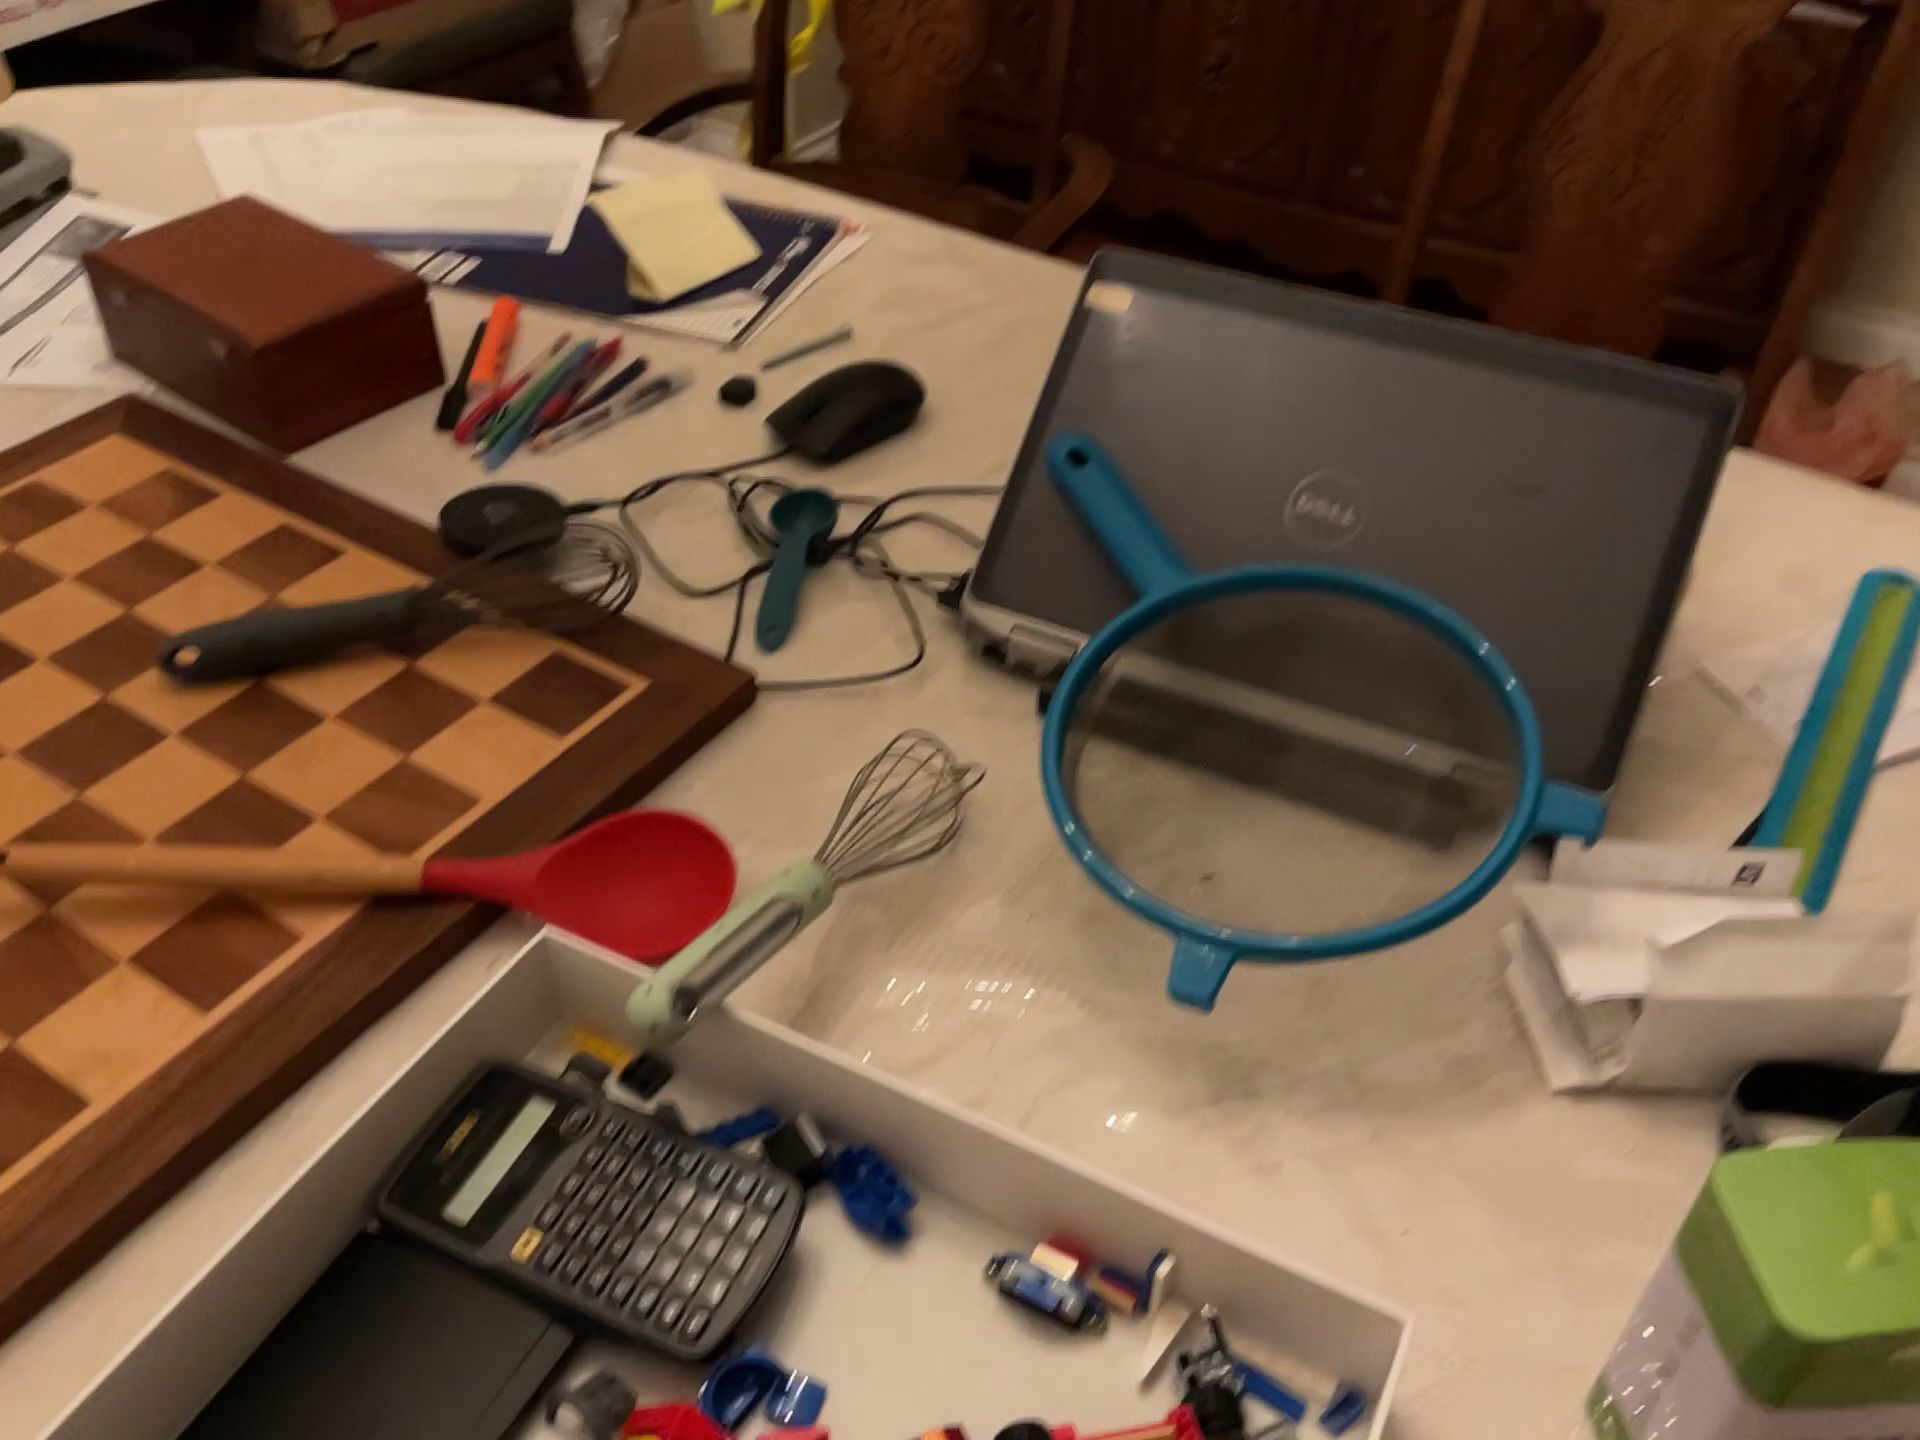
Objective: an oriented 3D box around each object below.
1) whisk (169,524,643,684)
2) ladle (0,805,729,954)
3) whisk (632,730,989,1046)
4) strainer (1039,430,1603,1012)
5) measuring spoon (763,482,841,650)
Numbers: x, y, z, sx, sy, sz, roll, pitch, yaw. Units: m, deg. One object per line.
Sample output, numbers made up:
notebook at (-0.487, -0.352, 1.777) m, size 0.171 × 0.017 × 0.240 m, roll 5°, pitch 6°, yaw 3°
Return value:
whisk at (-0.279, -0.055, 0.816) m, size 0.239 × 0.055 × 0.055 m, roll -15°, pitch 29°, yaw -13°
ladle at (-0.258, 0.067, 0.682) m, size 0.315 × 0.031 × 0.069 m, roll 2°, pitch 62°, yaw -7°
whisk at (-0.056, 0.066, 0.670) m, size 0.059 × 0.057 × 0.246 m, roll -11°, pitch 16°, yaw 32°
strainer at (0.121, -0.009, 0.752) m, size 0.211 × 0.095 × 0.341 m, roll -22°, pitch 50°, yaw -8°
measuring spoon at (-0.093, -0.084, 0.900) m, size 0.042 × 0.021 × 0.129 m, roll 0°, pitch 52°, yaw 9°
